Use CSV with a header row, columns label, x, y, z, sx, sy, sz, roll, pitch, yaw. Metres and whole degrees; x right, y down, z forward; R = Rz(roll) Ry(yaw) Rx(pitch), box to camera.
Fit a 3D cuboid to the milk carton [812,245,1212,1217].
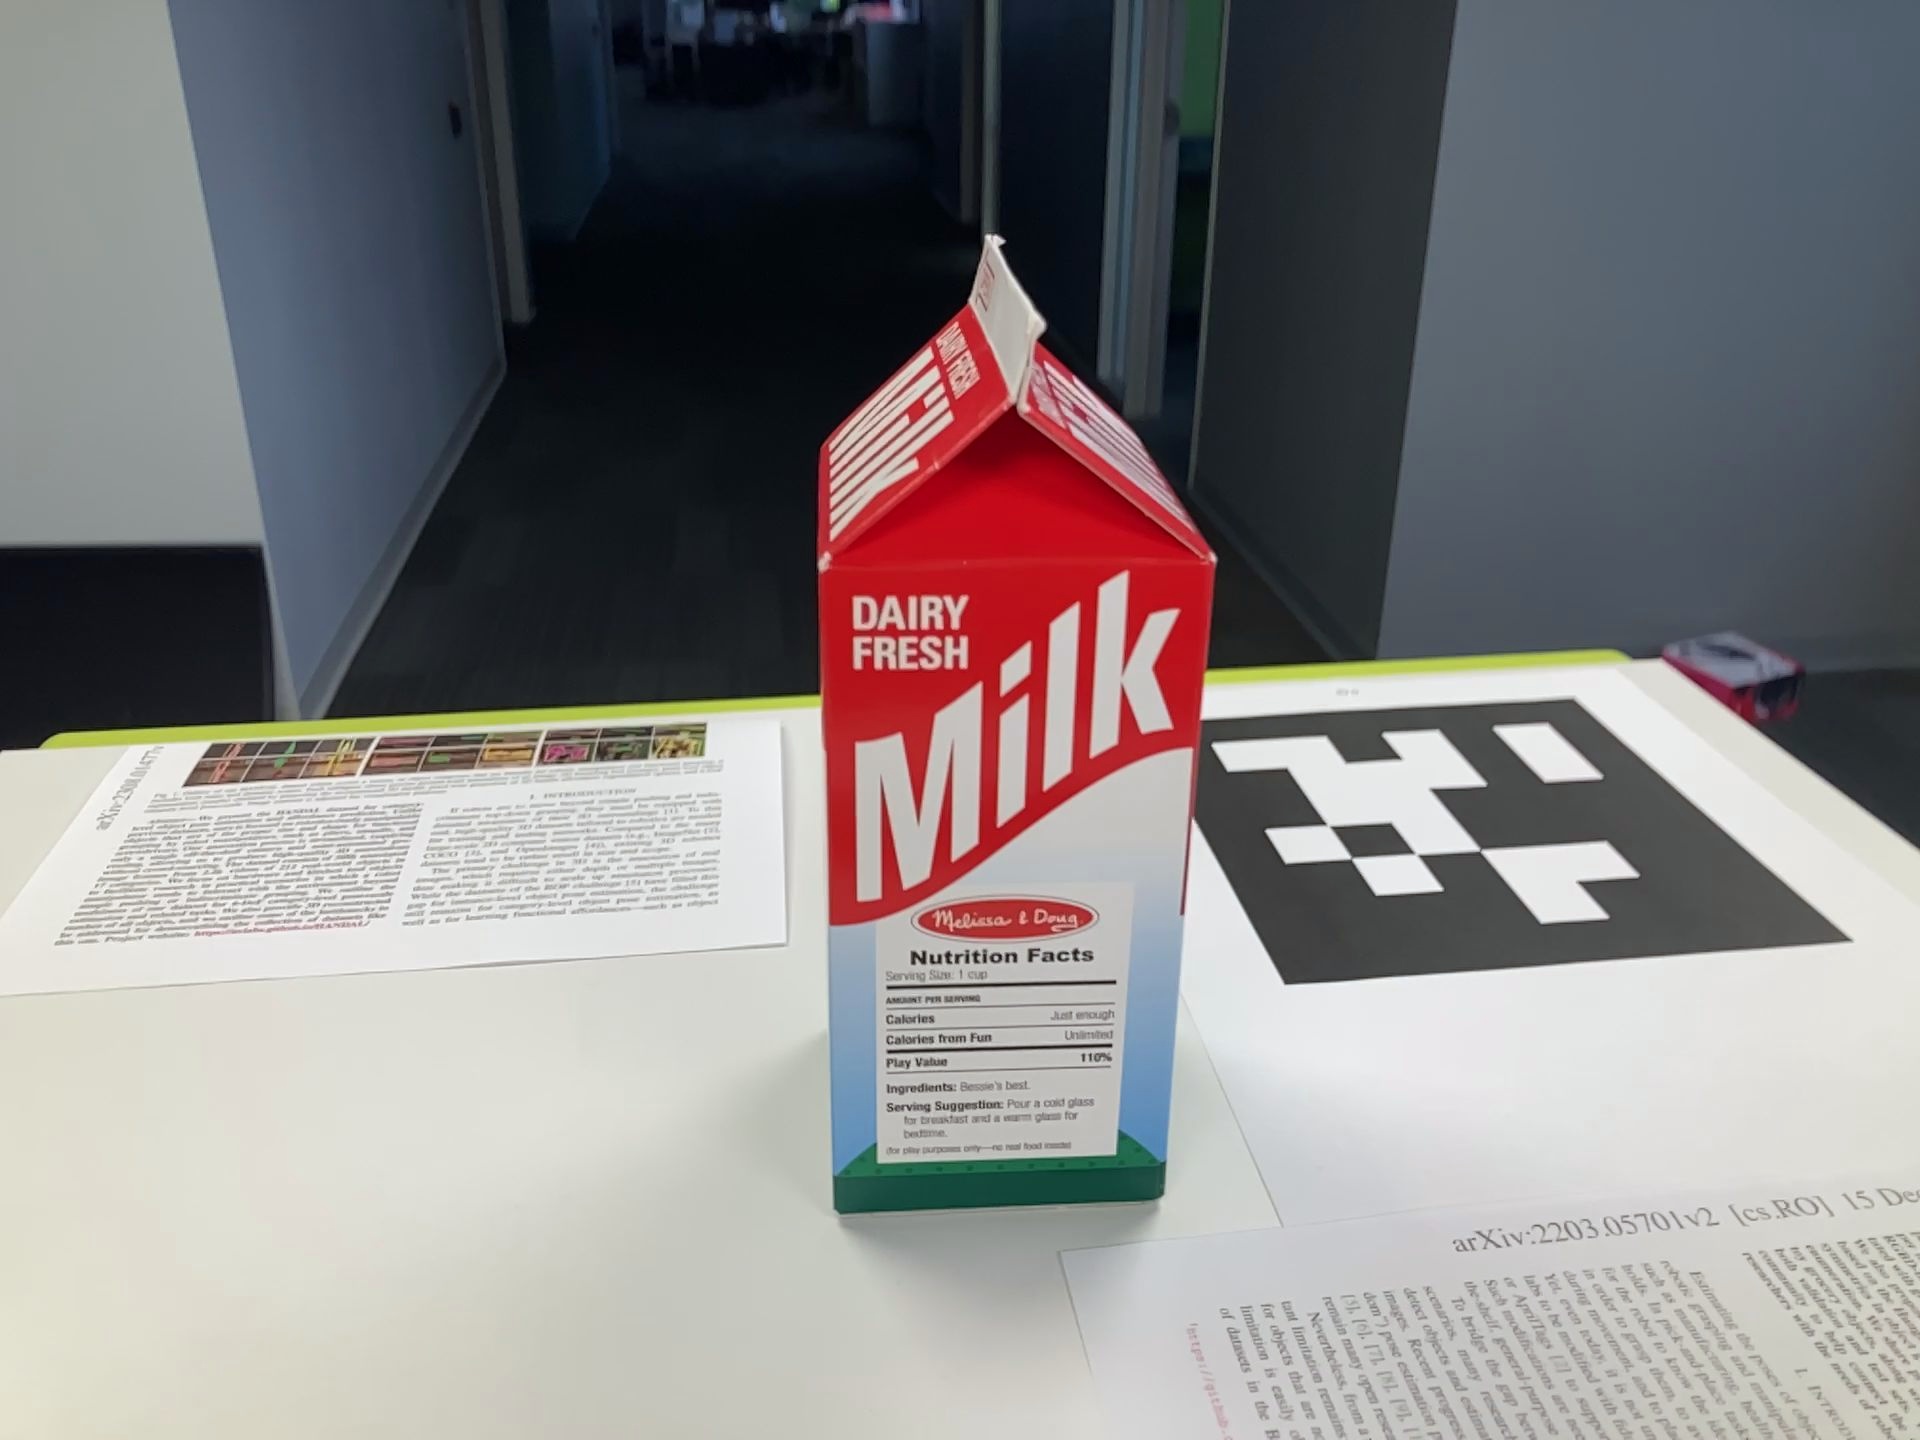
label,x,y,z,sx,sy,sz,roll,pitch,yaw
milk carton,0.007,0.005,0.330,0.073,0.190,0.072,-1,26,-4
